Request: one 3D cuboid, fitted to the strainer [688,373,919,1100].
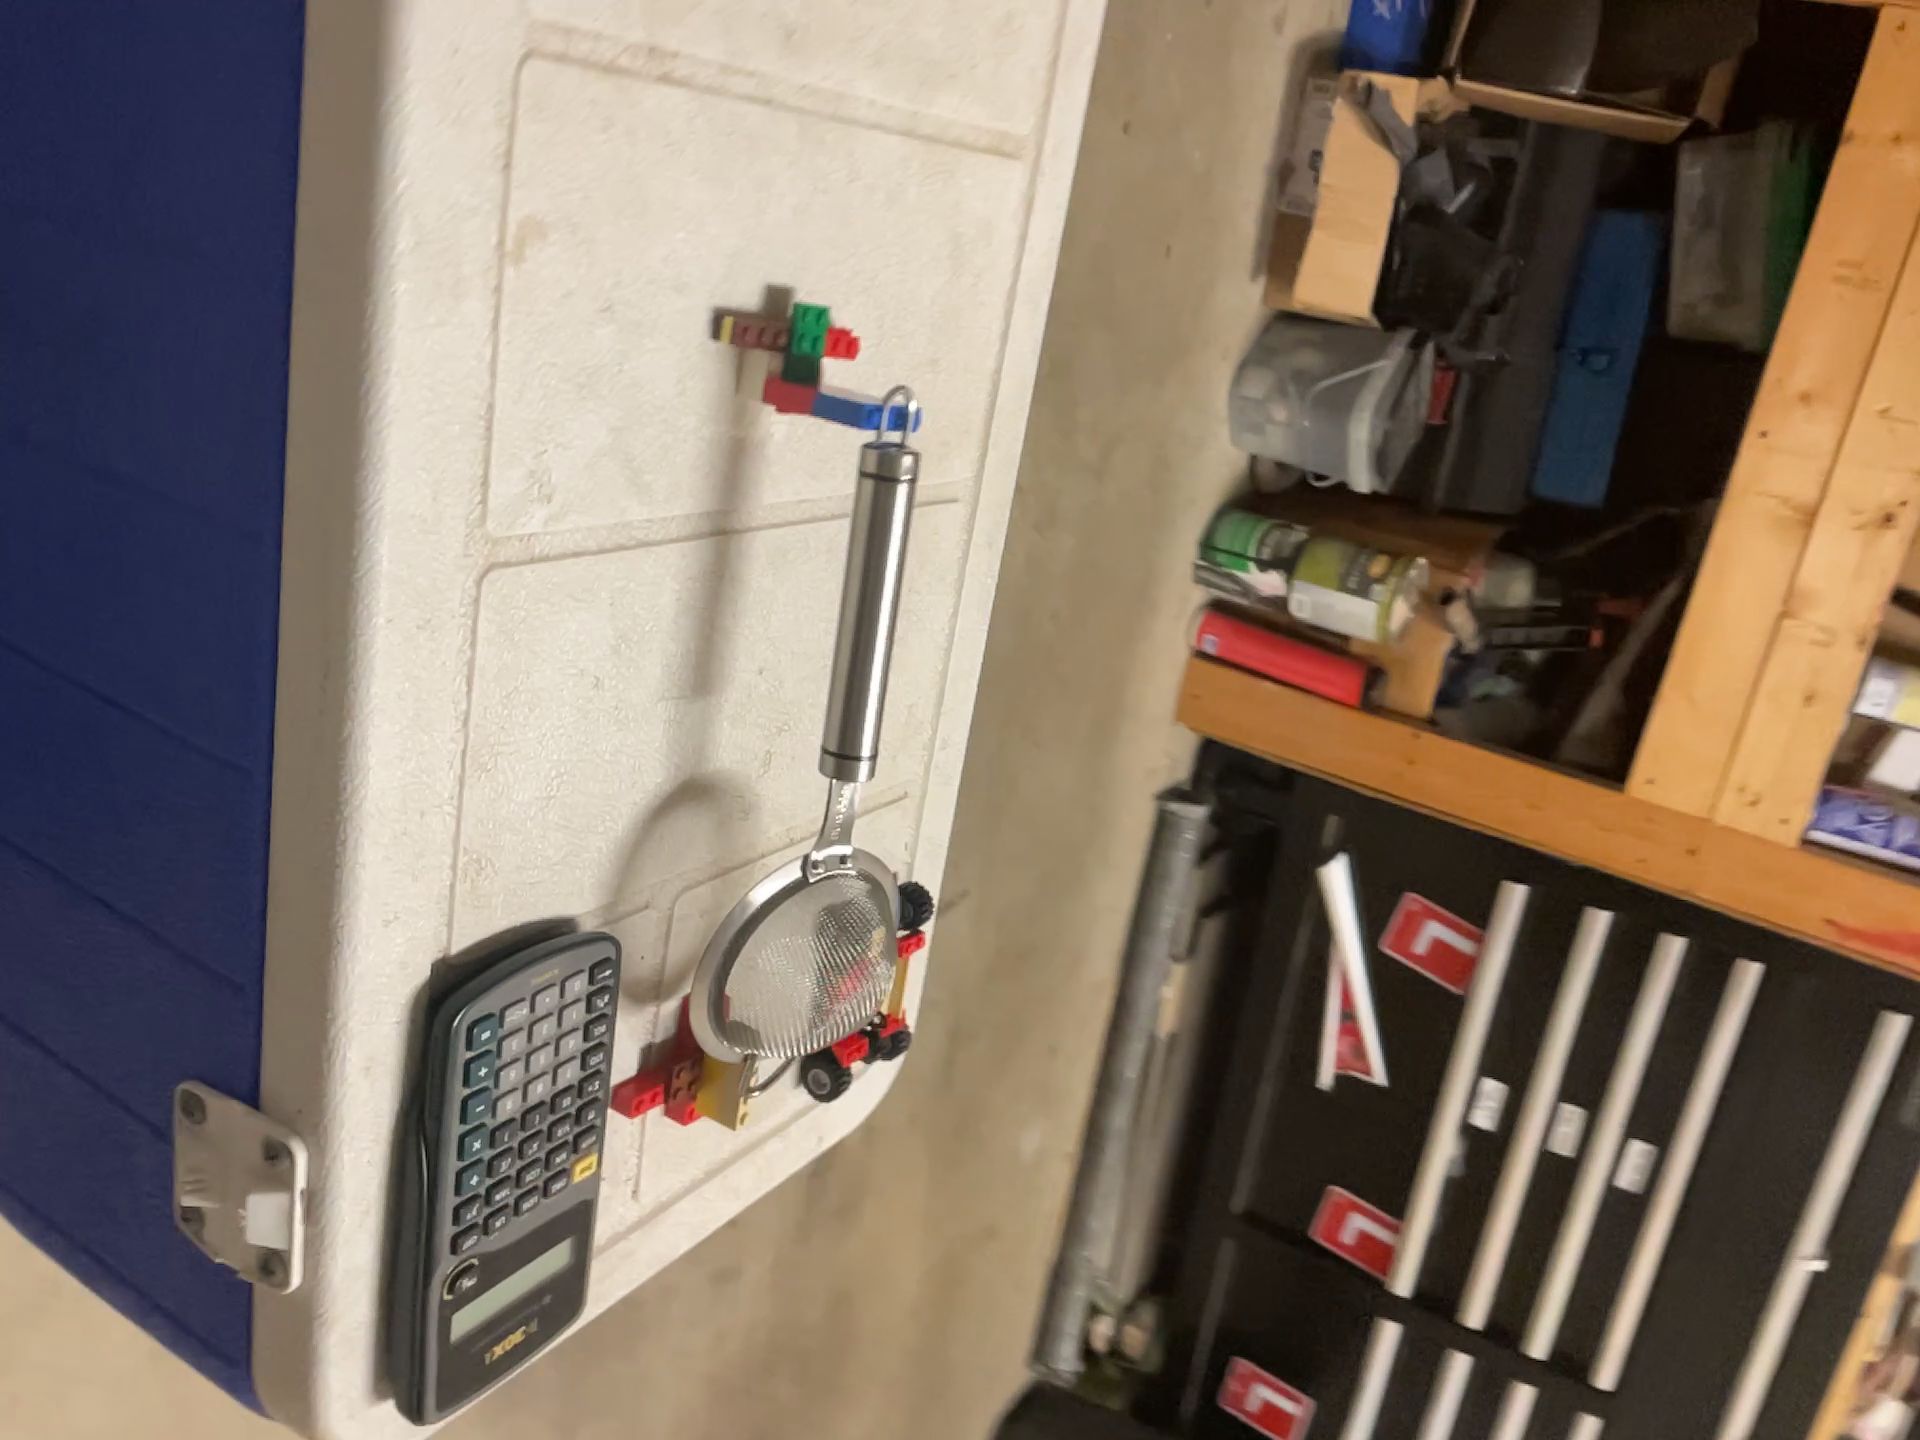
[{"bbox_3d":[-0.038,0.019,0.514,0.087,0.050,0.258,-7,113,-43],"label":"strainer"}]
